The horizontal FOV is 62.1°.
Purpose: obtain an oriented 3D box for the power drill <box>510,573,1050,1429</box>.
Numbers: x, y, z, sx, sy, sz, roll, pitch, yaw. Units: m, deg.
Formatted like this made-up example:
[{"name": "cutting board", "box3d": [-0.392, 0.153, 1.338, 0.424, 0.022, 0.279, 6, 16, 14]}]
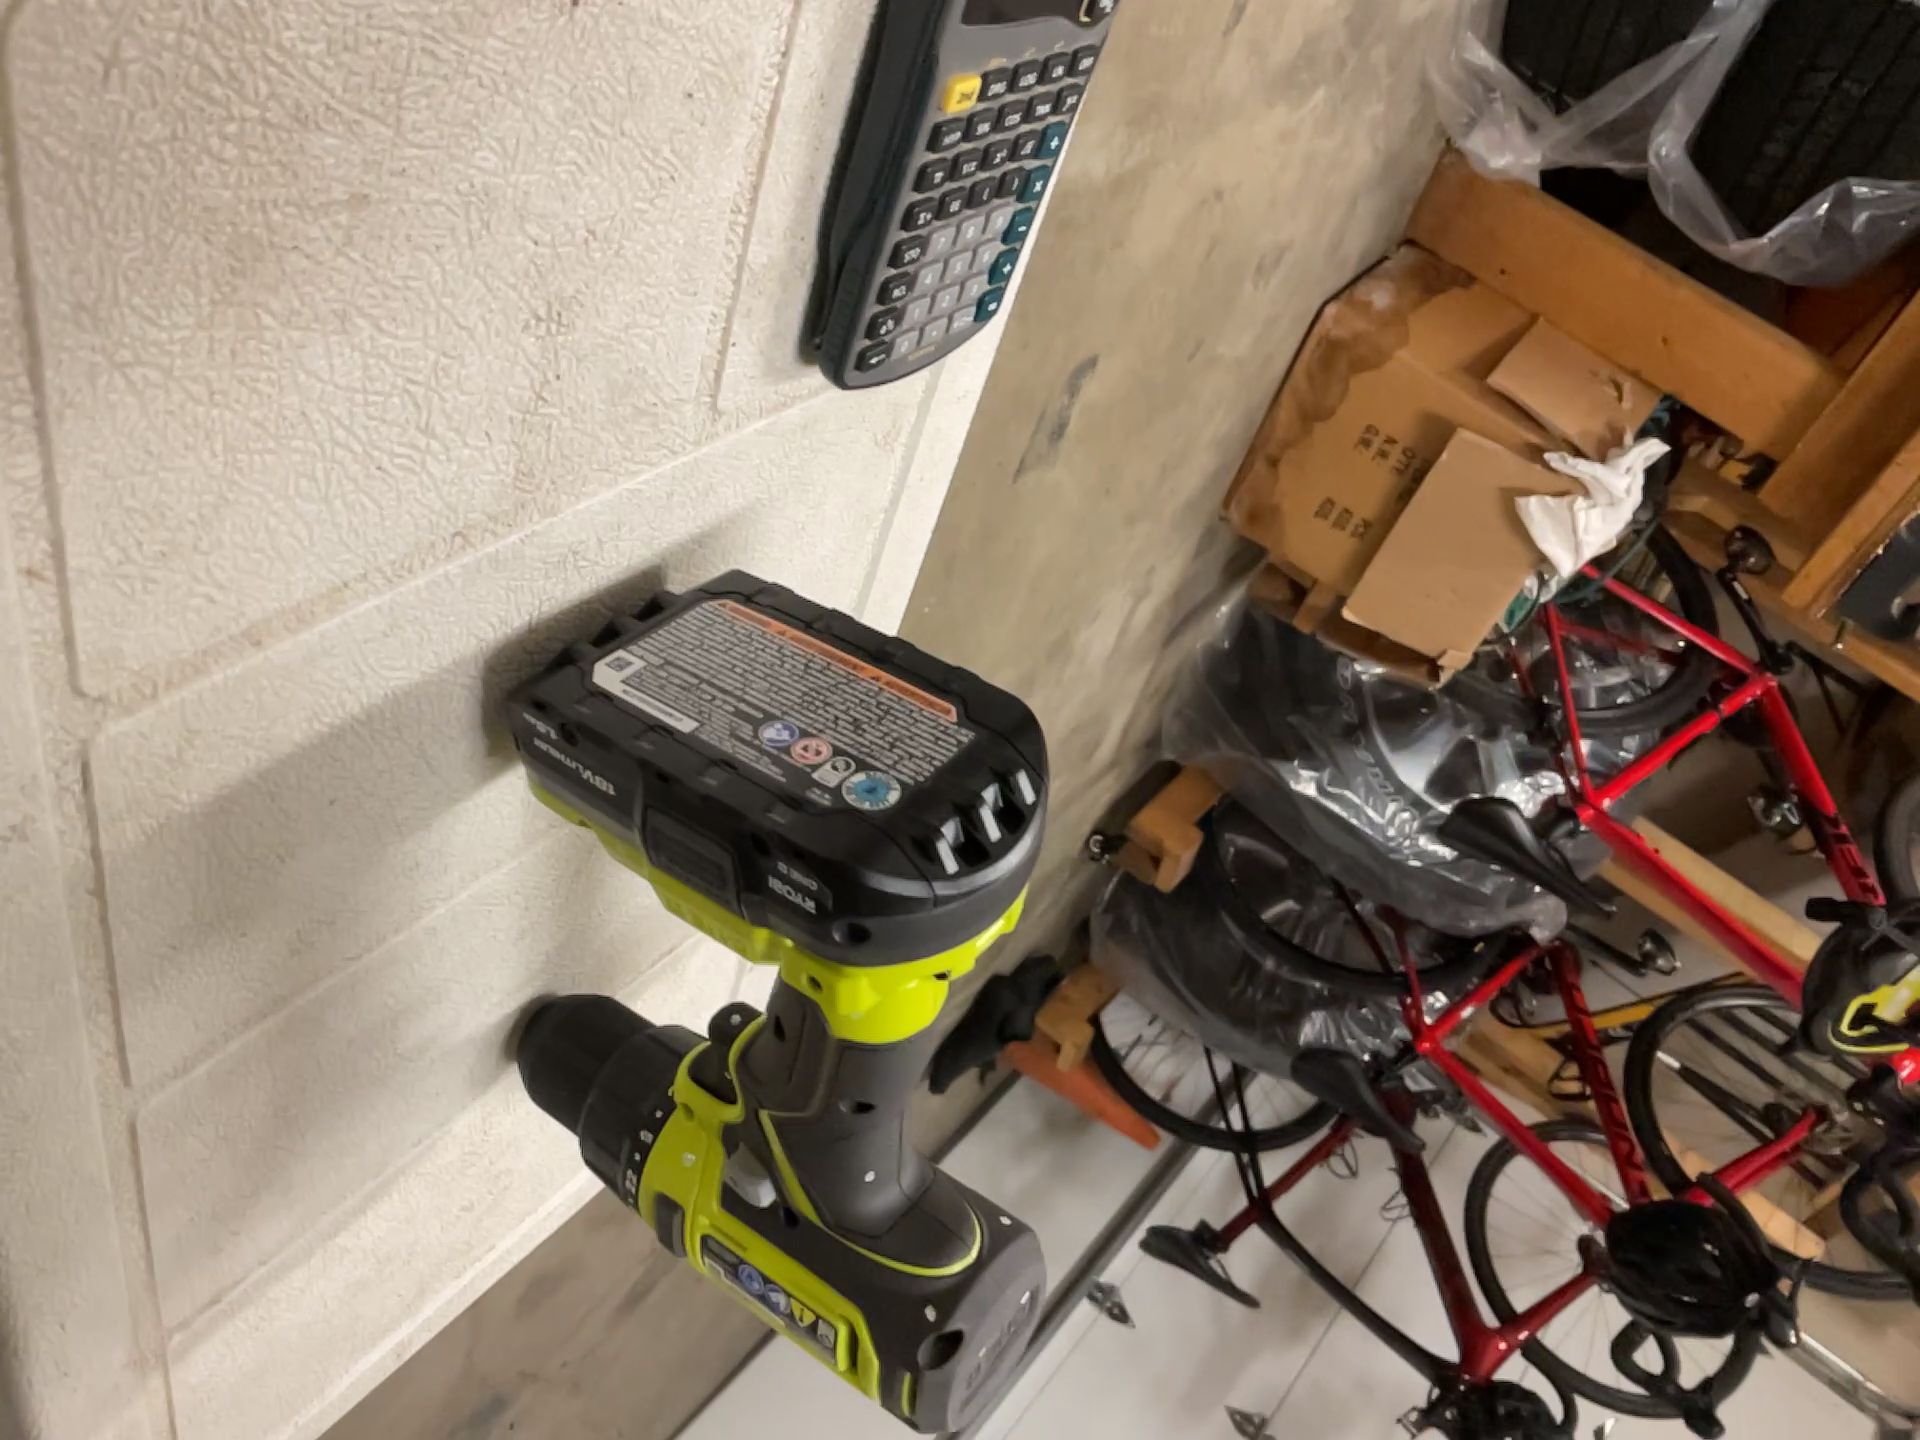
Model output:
[{"name": "power drill", "box3d": [-0.061, 0.080, 0.455, 0.080, 0.190, 0.228, -38, 144, -41]}]
